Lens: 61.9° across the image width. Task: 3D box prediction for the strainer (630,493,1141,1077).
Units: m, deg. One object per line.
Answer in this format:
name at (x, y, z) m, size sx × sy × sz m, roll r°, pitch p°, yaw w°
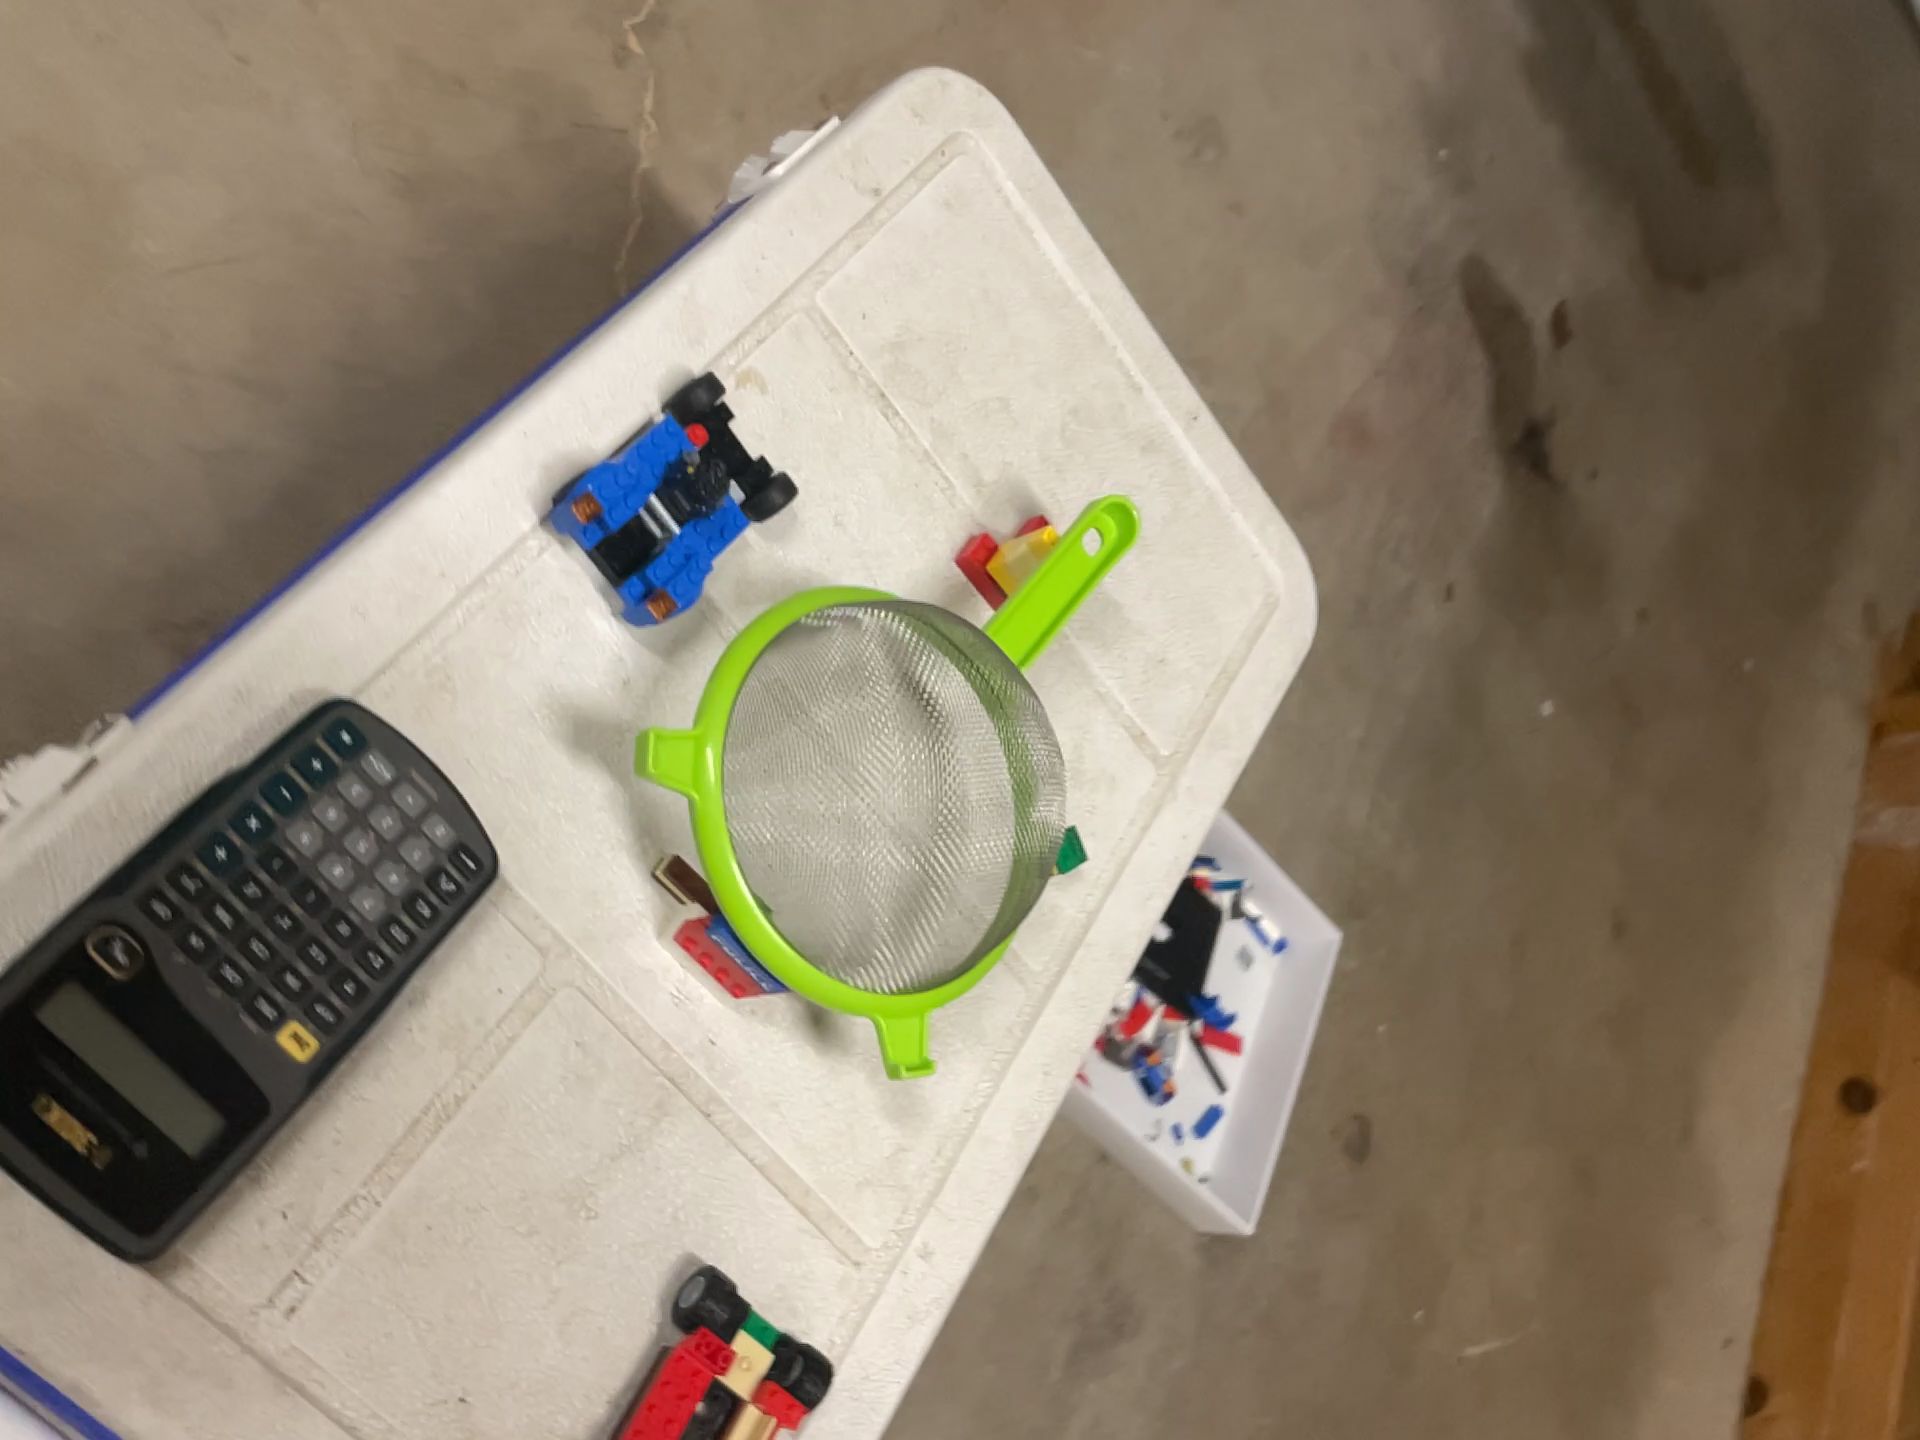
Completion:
strainer at (0.016, -0.012, 0.565) m, size 0.151 × 0.069 × 0.257 m, roll 52°, pitch 52°, yaw -17°
